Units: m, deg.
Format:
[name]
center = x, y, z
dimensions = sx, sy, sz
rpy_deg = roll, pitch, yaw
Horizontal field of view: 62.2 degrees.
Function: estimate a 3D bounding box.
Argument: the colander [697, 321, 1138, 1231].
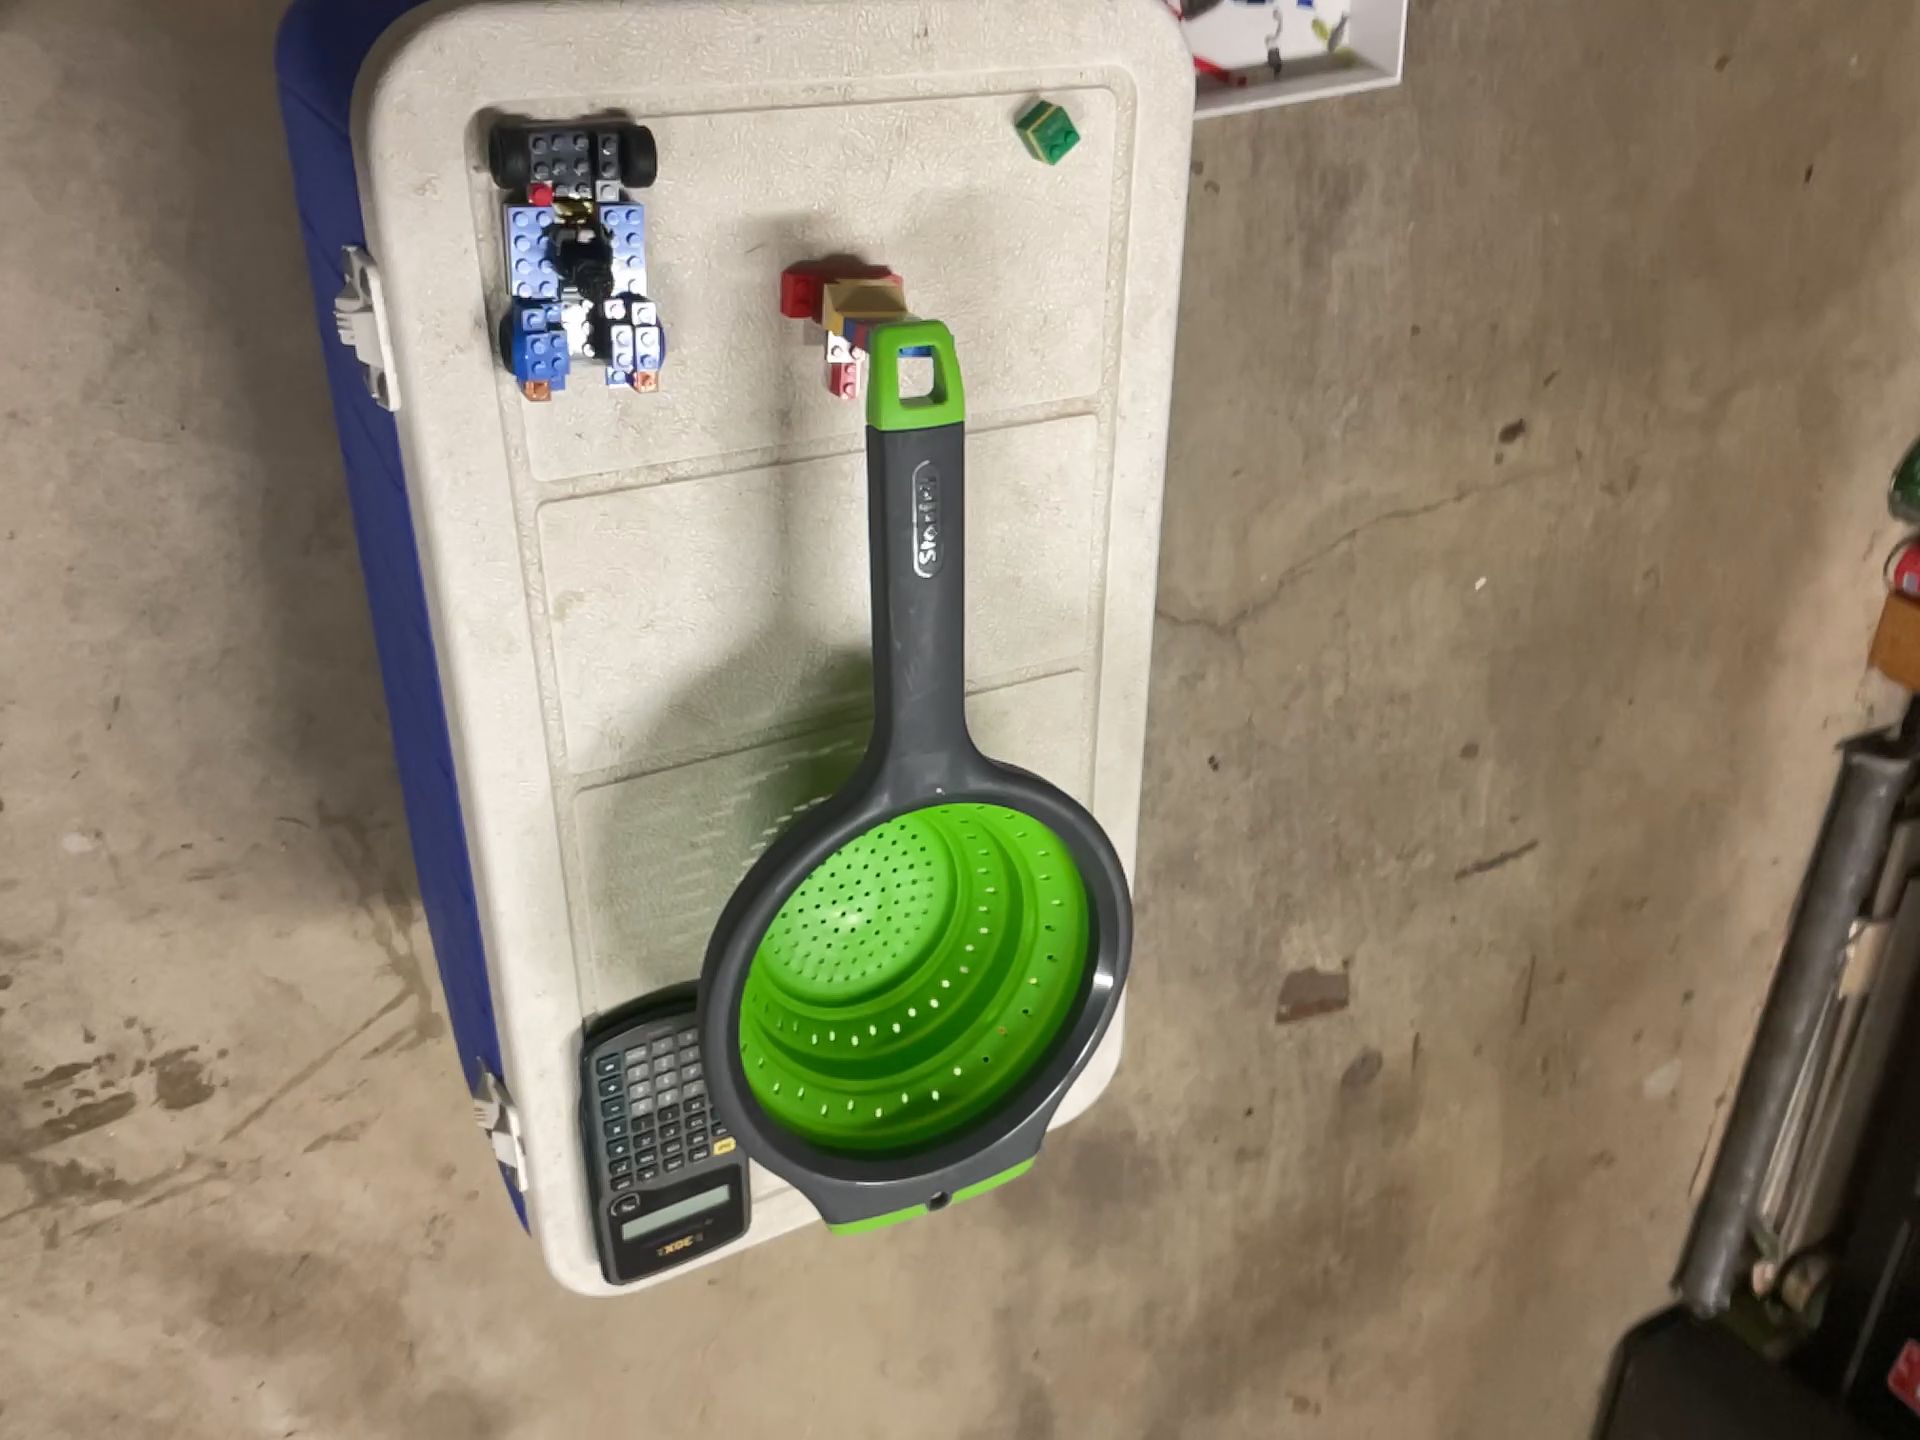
[colander]
center = -0.030, 0.026, 0.684
dimensions = 0.205, 0.095, 0.396
rpy_deg = -11, 116, -24
